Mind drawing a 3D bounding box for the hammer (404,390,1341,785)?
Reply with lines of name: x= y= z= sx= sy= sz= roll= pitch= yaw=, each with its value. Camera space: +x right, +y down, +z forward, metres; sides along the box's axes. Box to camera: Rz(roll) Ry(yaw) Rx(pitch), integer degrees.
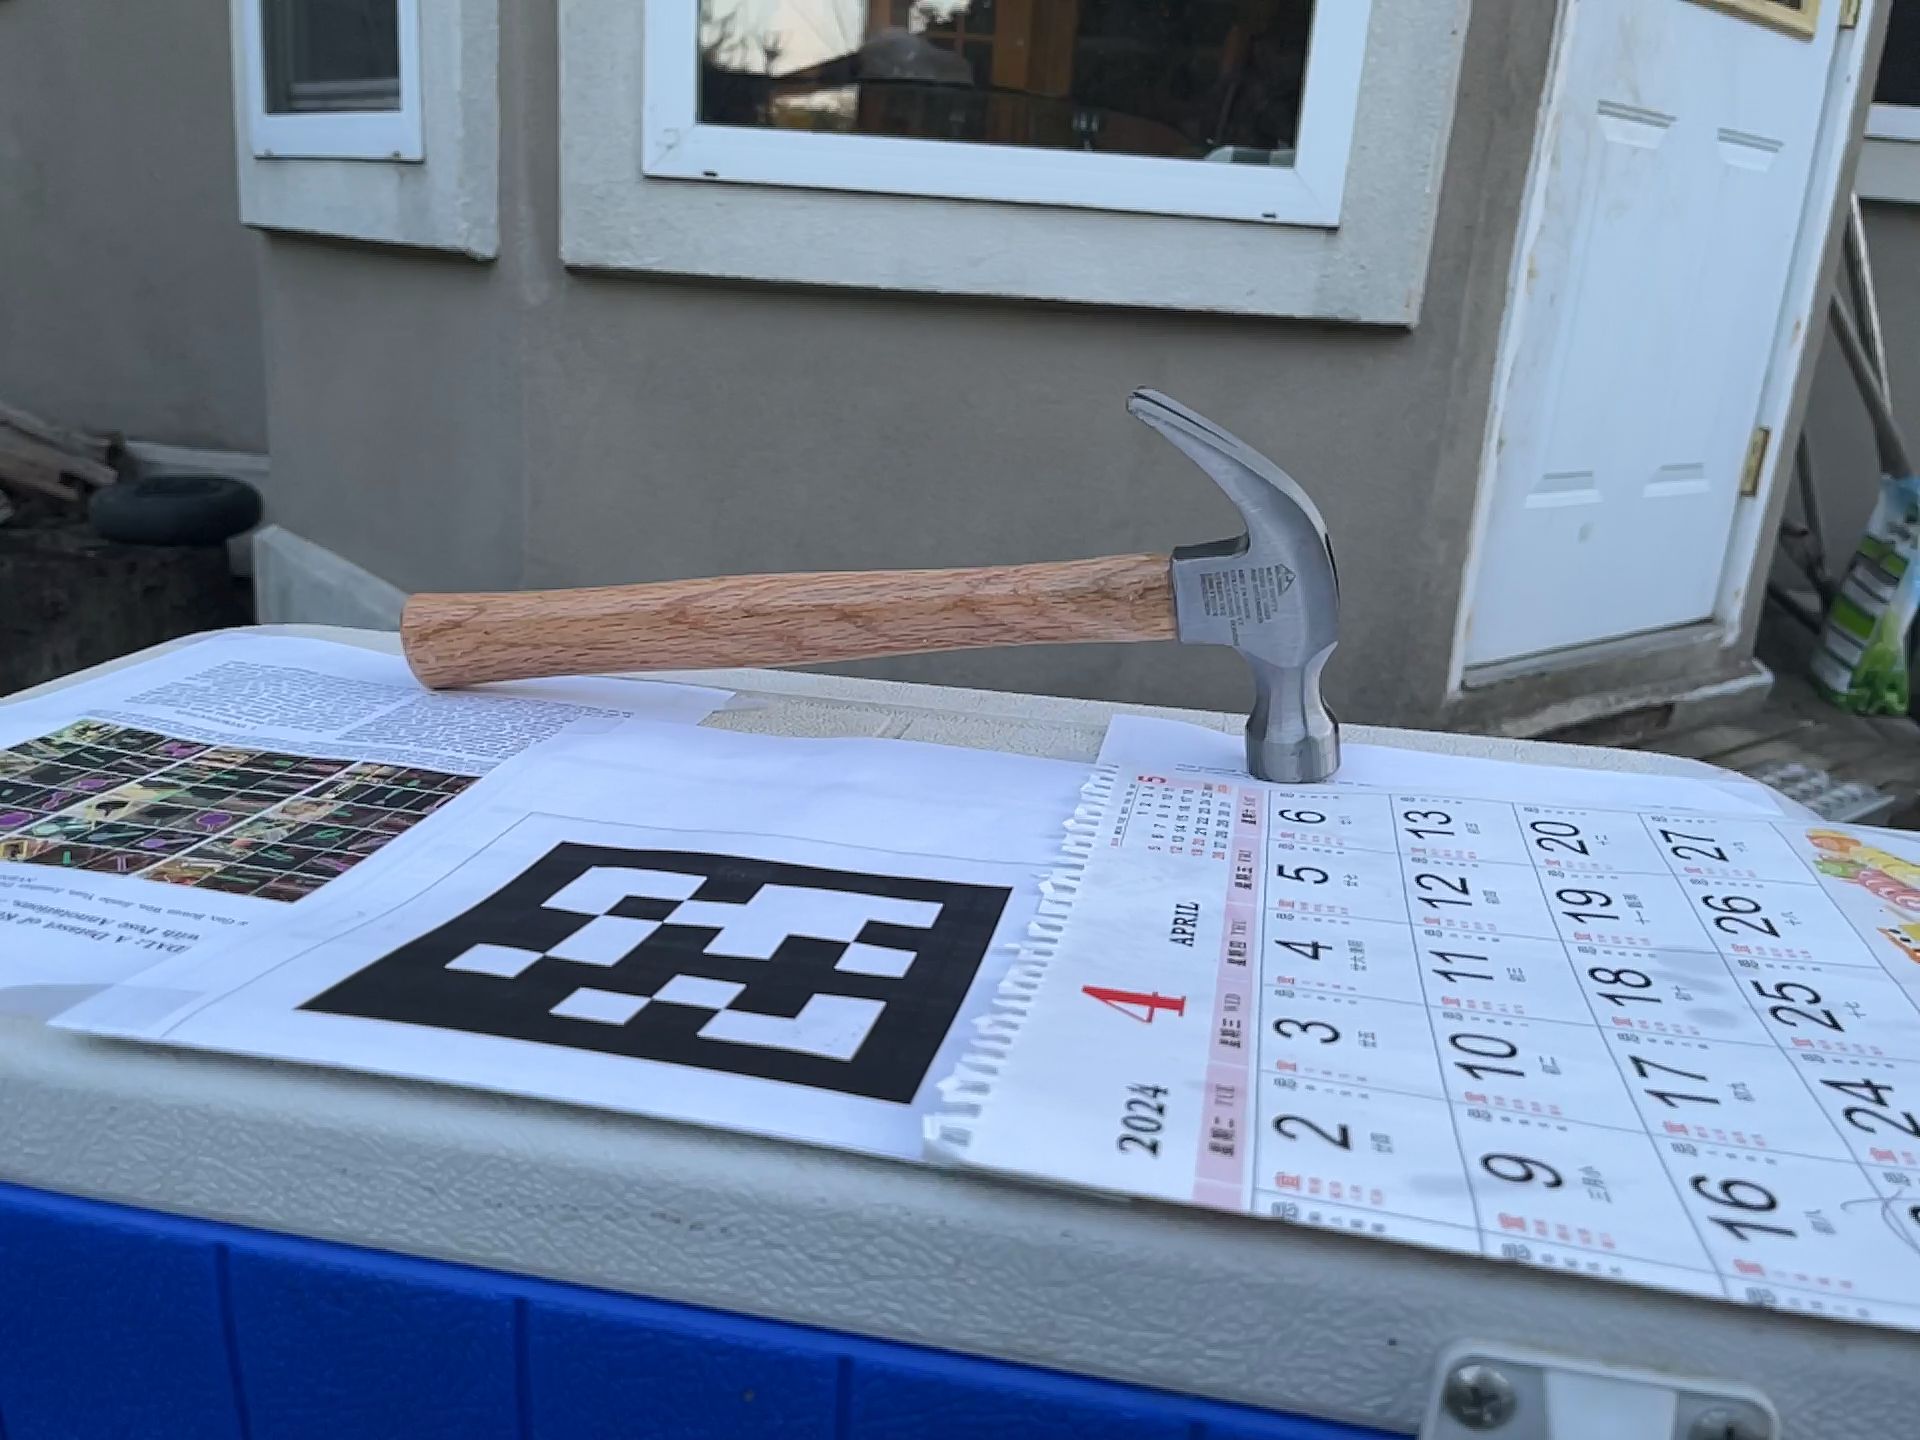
hammer: x=-0.040 y=-0.037 z=0.535 sx=0.331 sy=0.130 sz=0.031 roll=-3 pitch=20 yaw=13
